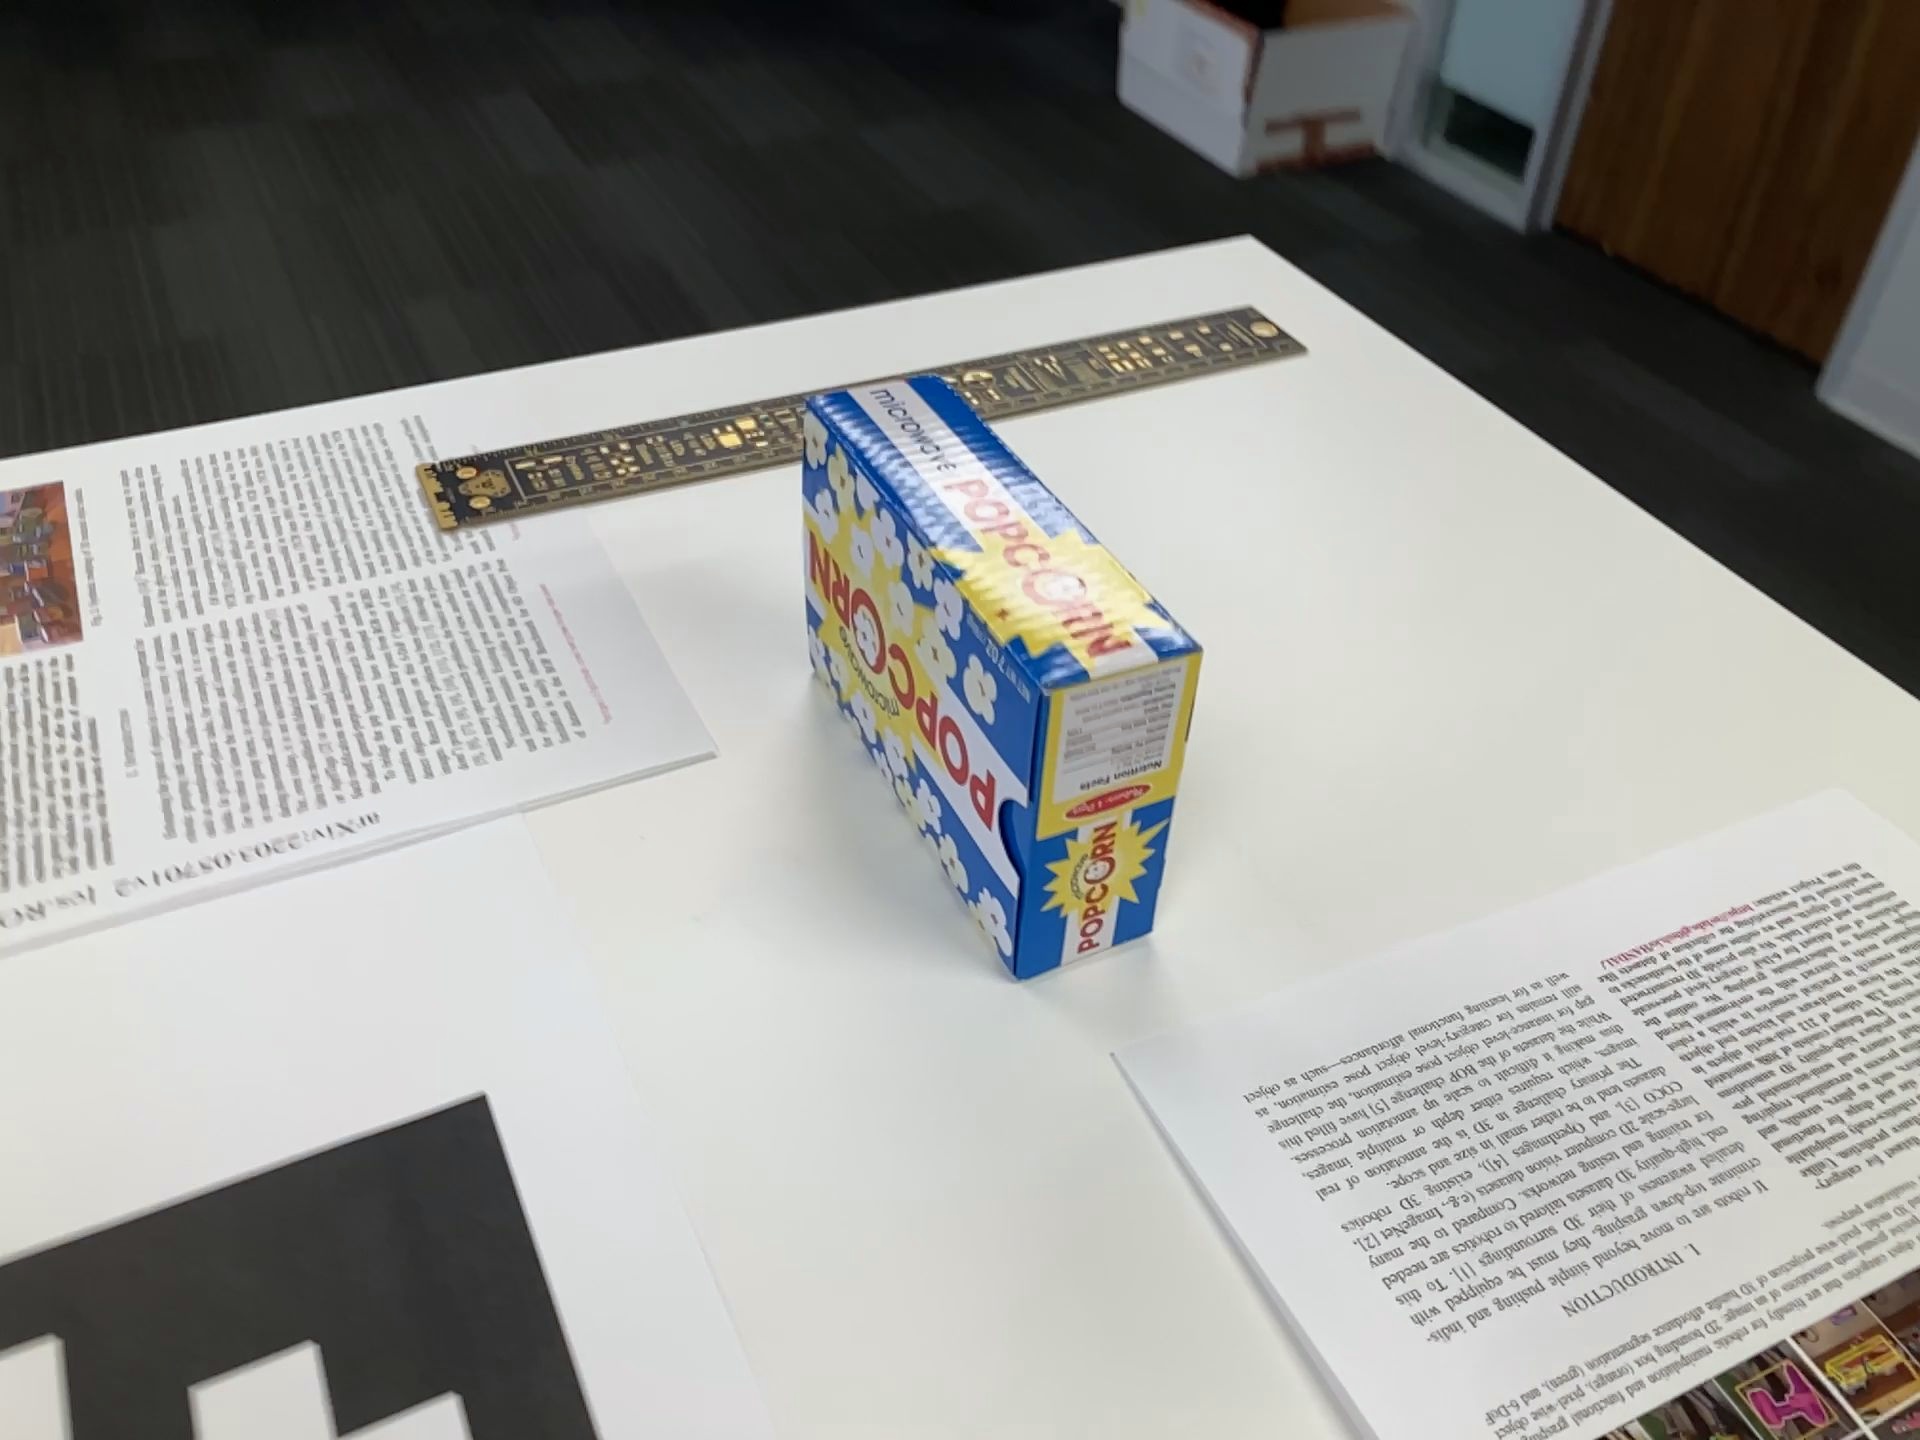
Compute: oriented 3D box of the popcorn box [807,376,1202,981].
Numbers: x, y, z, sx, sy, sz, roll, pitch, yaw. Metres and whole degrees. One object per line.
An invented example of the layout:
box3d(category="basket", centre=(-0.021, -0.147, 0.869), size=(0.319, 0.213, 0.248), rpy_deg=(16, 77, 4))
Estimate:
box3d(category="popcorn box", centre=(0.003, -0.015, 0.377), size=(0.038, 0.085, 0.126), rpy_deg=(-15, 43, -22))
